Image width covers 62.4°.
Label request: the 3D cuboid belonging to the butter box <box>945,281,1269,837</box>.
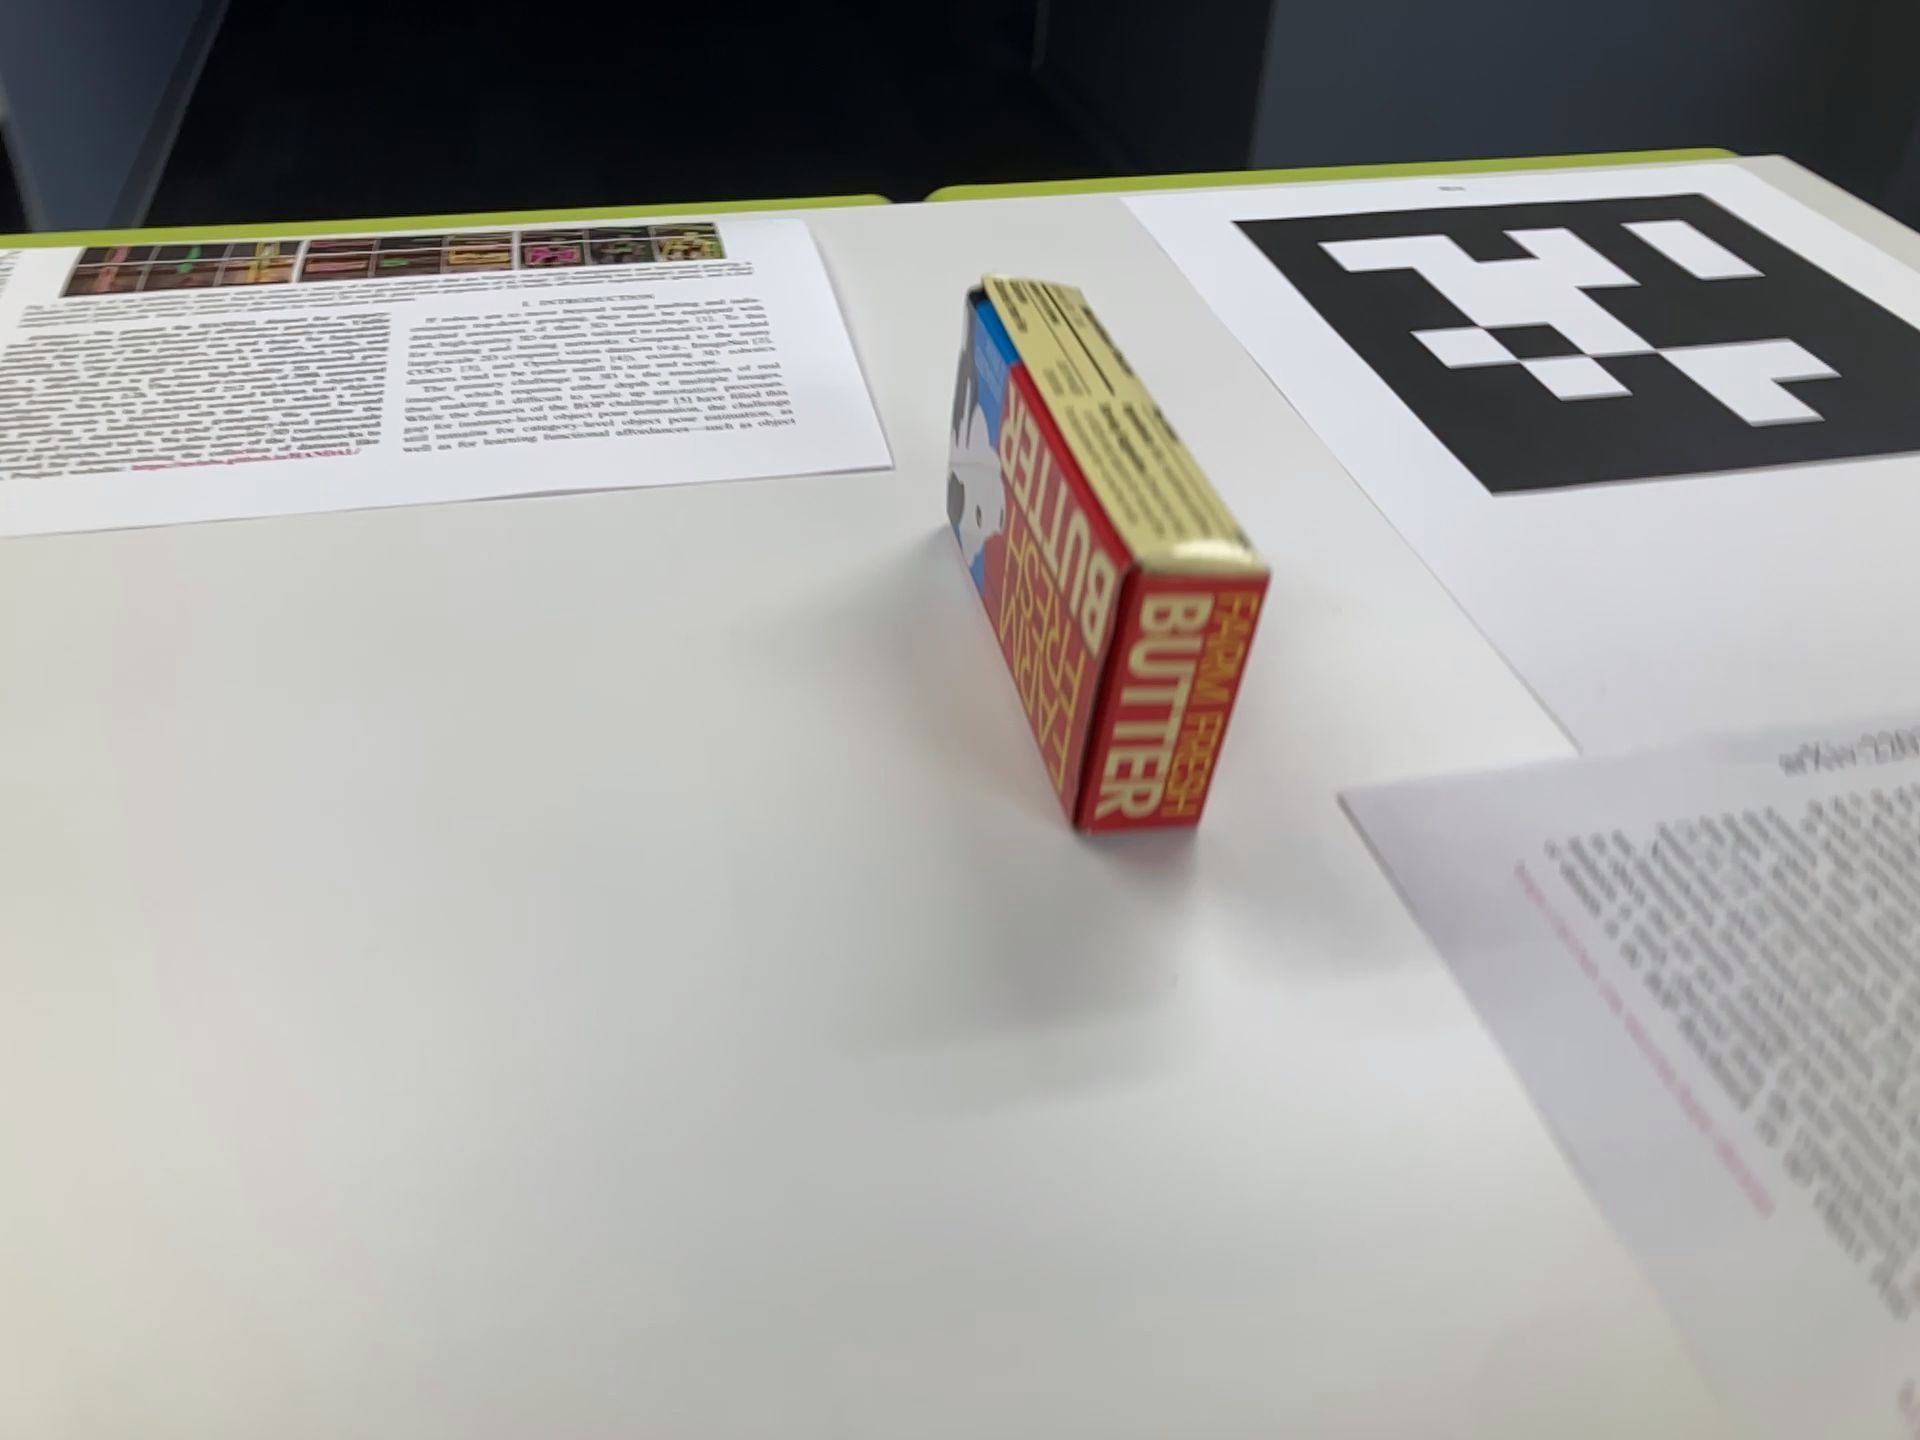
[{"bbox_3d":[0.021,-0.033,0.282,0.024,0.053,0.103,-4,39,-13],"label":"butter box"}]
